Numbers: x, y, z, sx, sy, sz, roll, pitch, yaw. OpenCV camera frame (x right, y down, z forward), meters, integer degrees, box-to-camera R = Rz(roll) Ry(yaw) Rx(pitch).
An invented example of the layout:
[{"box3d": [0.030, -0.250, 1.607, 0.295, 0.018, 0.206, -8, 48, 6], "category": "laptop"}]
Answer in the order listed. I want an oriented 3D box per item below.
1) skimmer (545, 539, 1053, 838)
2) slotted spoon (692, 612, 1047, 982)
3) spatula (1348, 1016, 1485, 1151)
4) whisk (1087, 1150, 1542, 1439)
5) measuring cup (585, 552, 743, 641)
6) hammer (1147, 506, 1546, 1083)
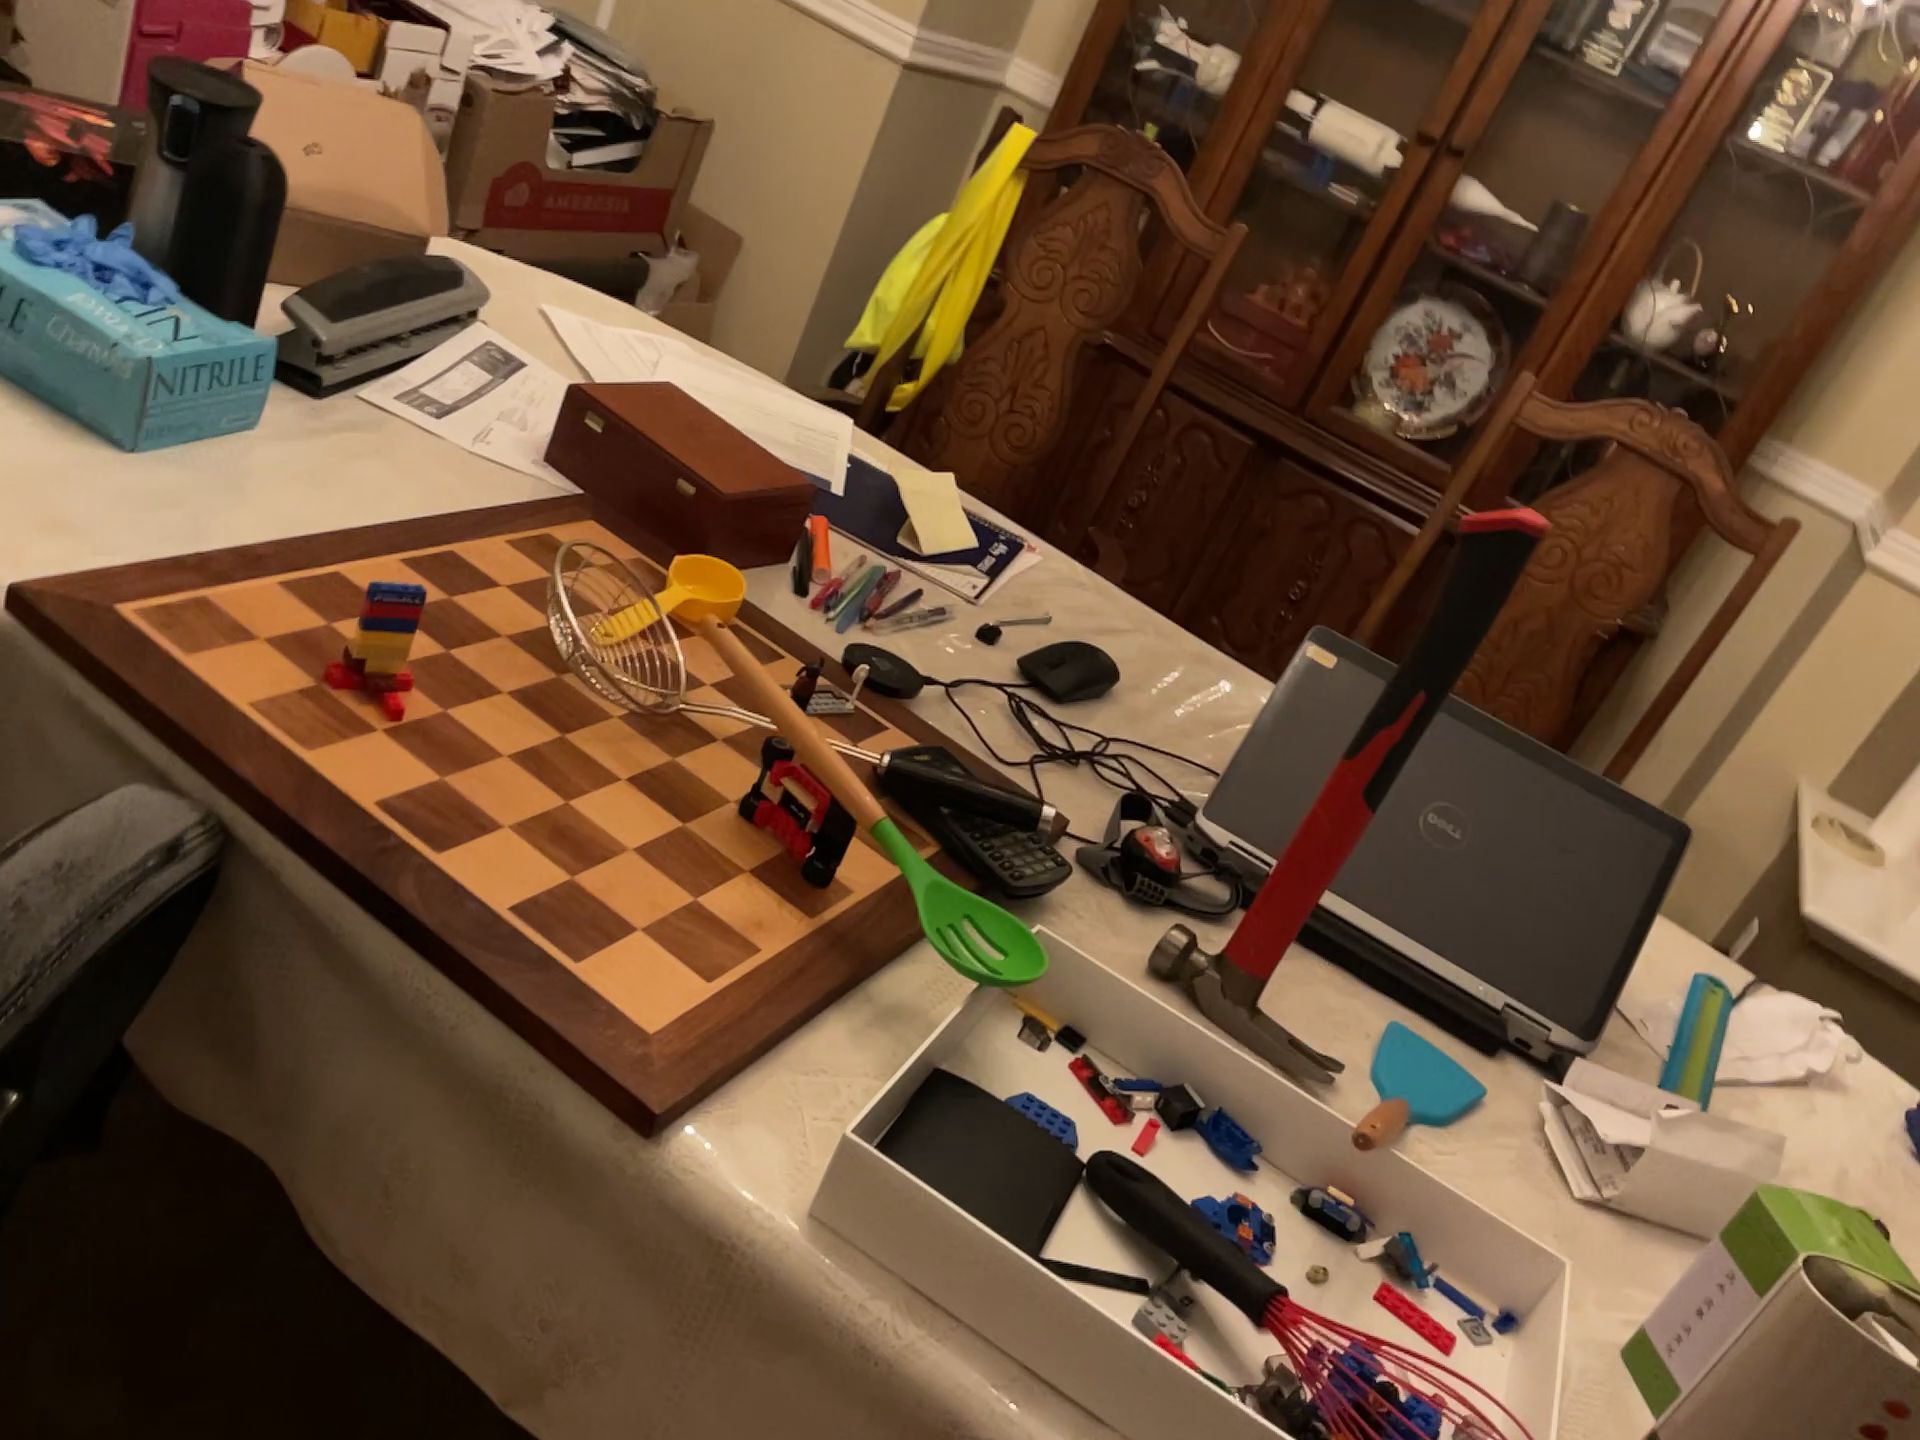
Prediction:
[{"box3d": [-0.101, -0.016, 1.054, 0.363, 0.090, 0.127, 20, 24, -3], "category": "skimmer"}, {"box3d": [-0.064, 0.043, 0.945, 0.314, 0.031, 0.070, 47, 33, 21], "category": "slotted spoon"}, {"box3d": [0.270, 0.231, 0.978, 0.082, 0.044, 0.317, 37, 7, 21], "category": "spatula"}, {"box3d": [0.164, 0.295, 0.768, 0.073, 0.073, 0.296, 26, 3, -45], "category": "whisk"}, {"box3d": [-0.221, -0.081, 1.170, 0.062, 0.029, 0.156, 36, 39, 15], "category": "measuring cup"}, {"box3d": [0.260, 0.047, 0.985, 0.143, 0.386, 0.038, 35, 26, 19], "category": "hammer"}]
